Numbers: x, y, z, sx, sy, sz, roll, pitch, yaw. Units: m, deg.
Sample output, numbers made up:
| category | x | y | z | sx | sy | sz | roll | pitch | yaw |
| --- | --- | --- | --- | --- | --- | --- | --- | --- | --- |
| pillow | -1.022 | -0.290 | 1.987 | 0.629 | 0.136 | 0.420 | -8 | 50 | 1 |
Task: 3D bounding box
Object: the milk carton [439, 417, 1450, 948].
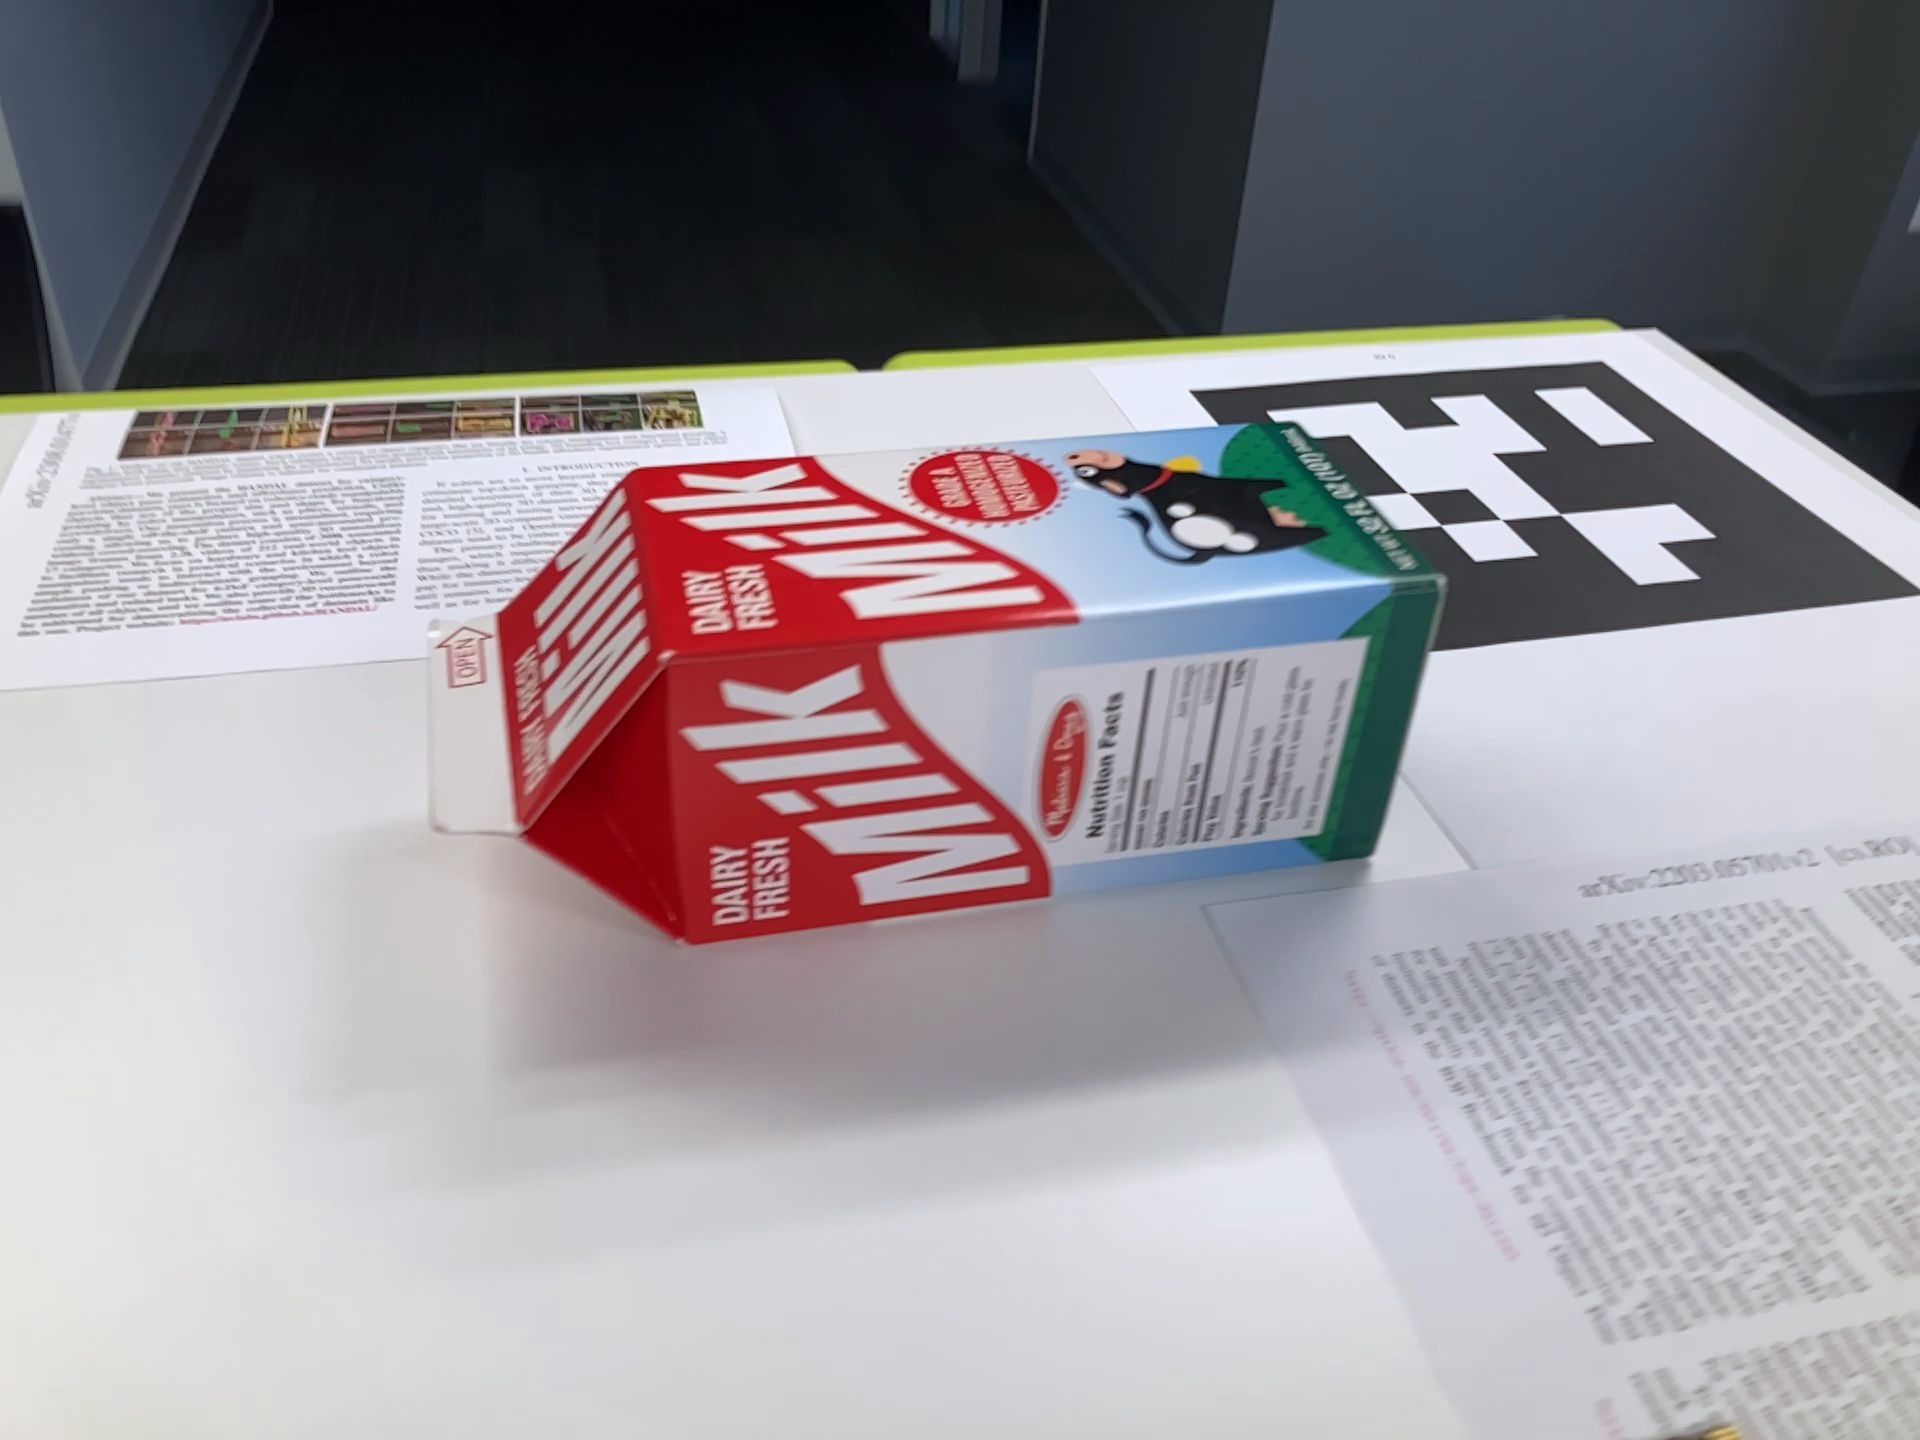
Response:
| category | x | y | z | sx | sy | sz | roll | pitch | yaw |
| --- | --- | --- | --- | --- | --- | --- | --- | --- | --- |
| milk carton | -0.008 | -0.009 | 0.327 | 0.190 | 0.073 | 0.072 | -7 | 38 | -13 |
